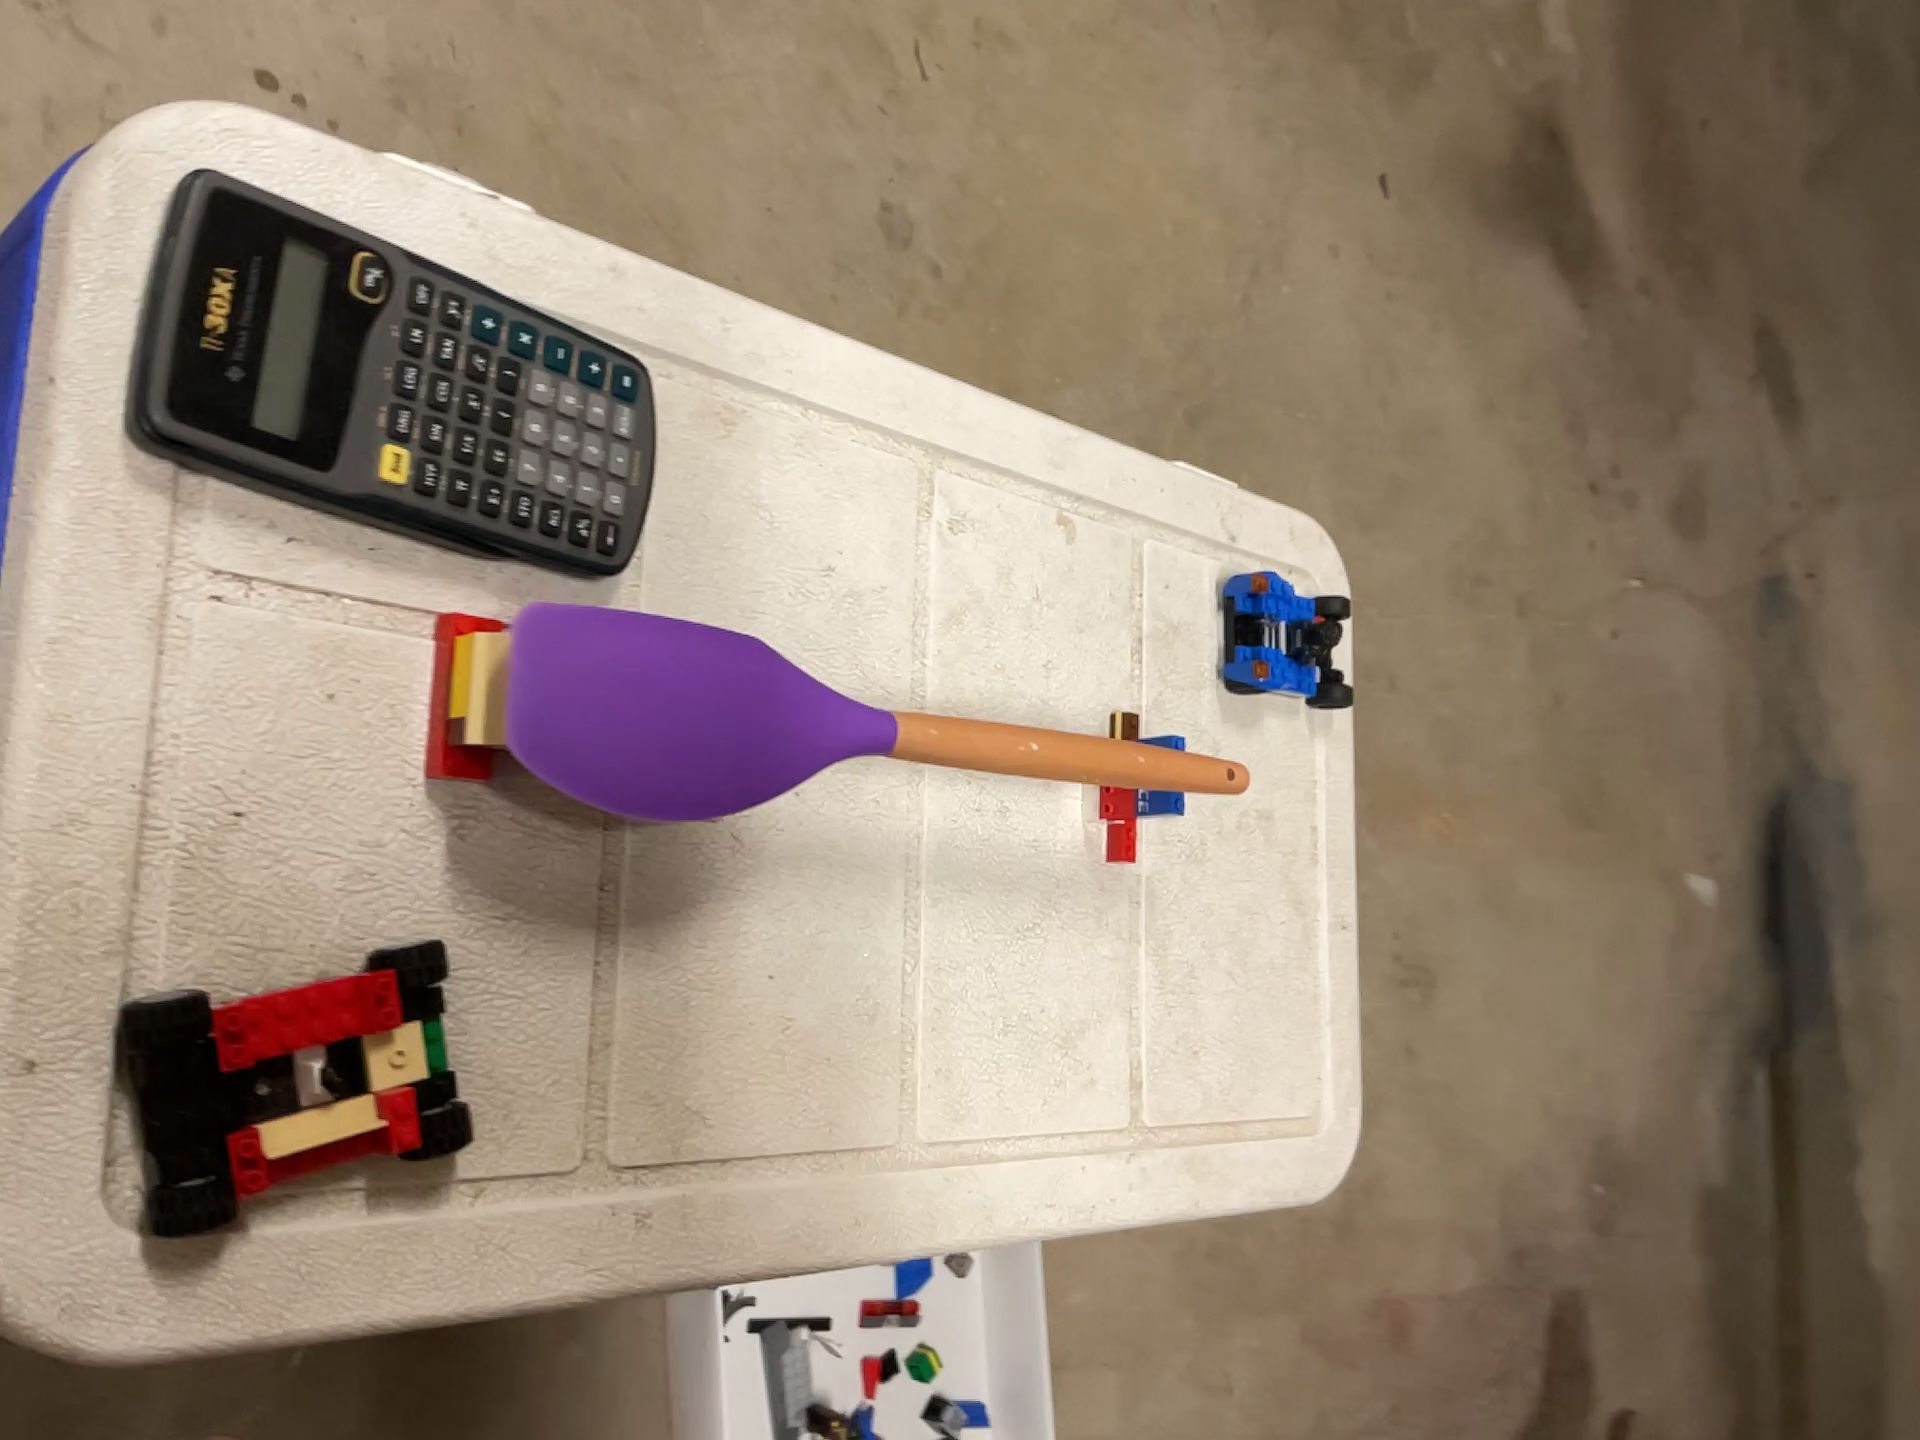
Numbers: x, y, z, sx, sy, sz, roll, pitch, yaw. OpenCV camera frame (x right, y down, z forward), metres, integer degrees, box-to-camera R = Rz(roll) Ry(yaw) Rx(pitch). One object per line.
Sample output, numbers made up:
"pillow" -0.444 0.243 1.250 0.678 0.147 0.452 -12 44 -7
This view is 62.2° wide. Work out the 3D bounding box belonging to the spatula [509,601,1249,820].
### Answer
"spatula" -0.005 0.009 0.536 0.316 0.018 0.060 7 79 -42
